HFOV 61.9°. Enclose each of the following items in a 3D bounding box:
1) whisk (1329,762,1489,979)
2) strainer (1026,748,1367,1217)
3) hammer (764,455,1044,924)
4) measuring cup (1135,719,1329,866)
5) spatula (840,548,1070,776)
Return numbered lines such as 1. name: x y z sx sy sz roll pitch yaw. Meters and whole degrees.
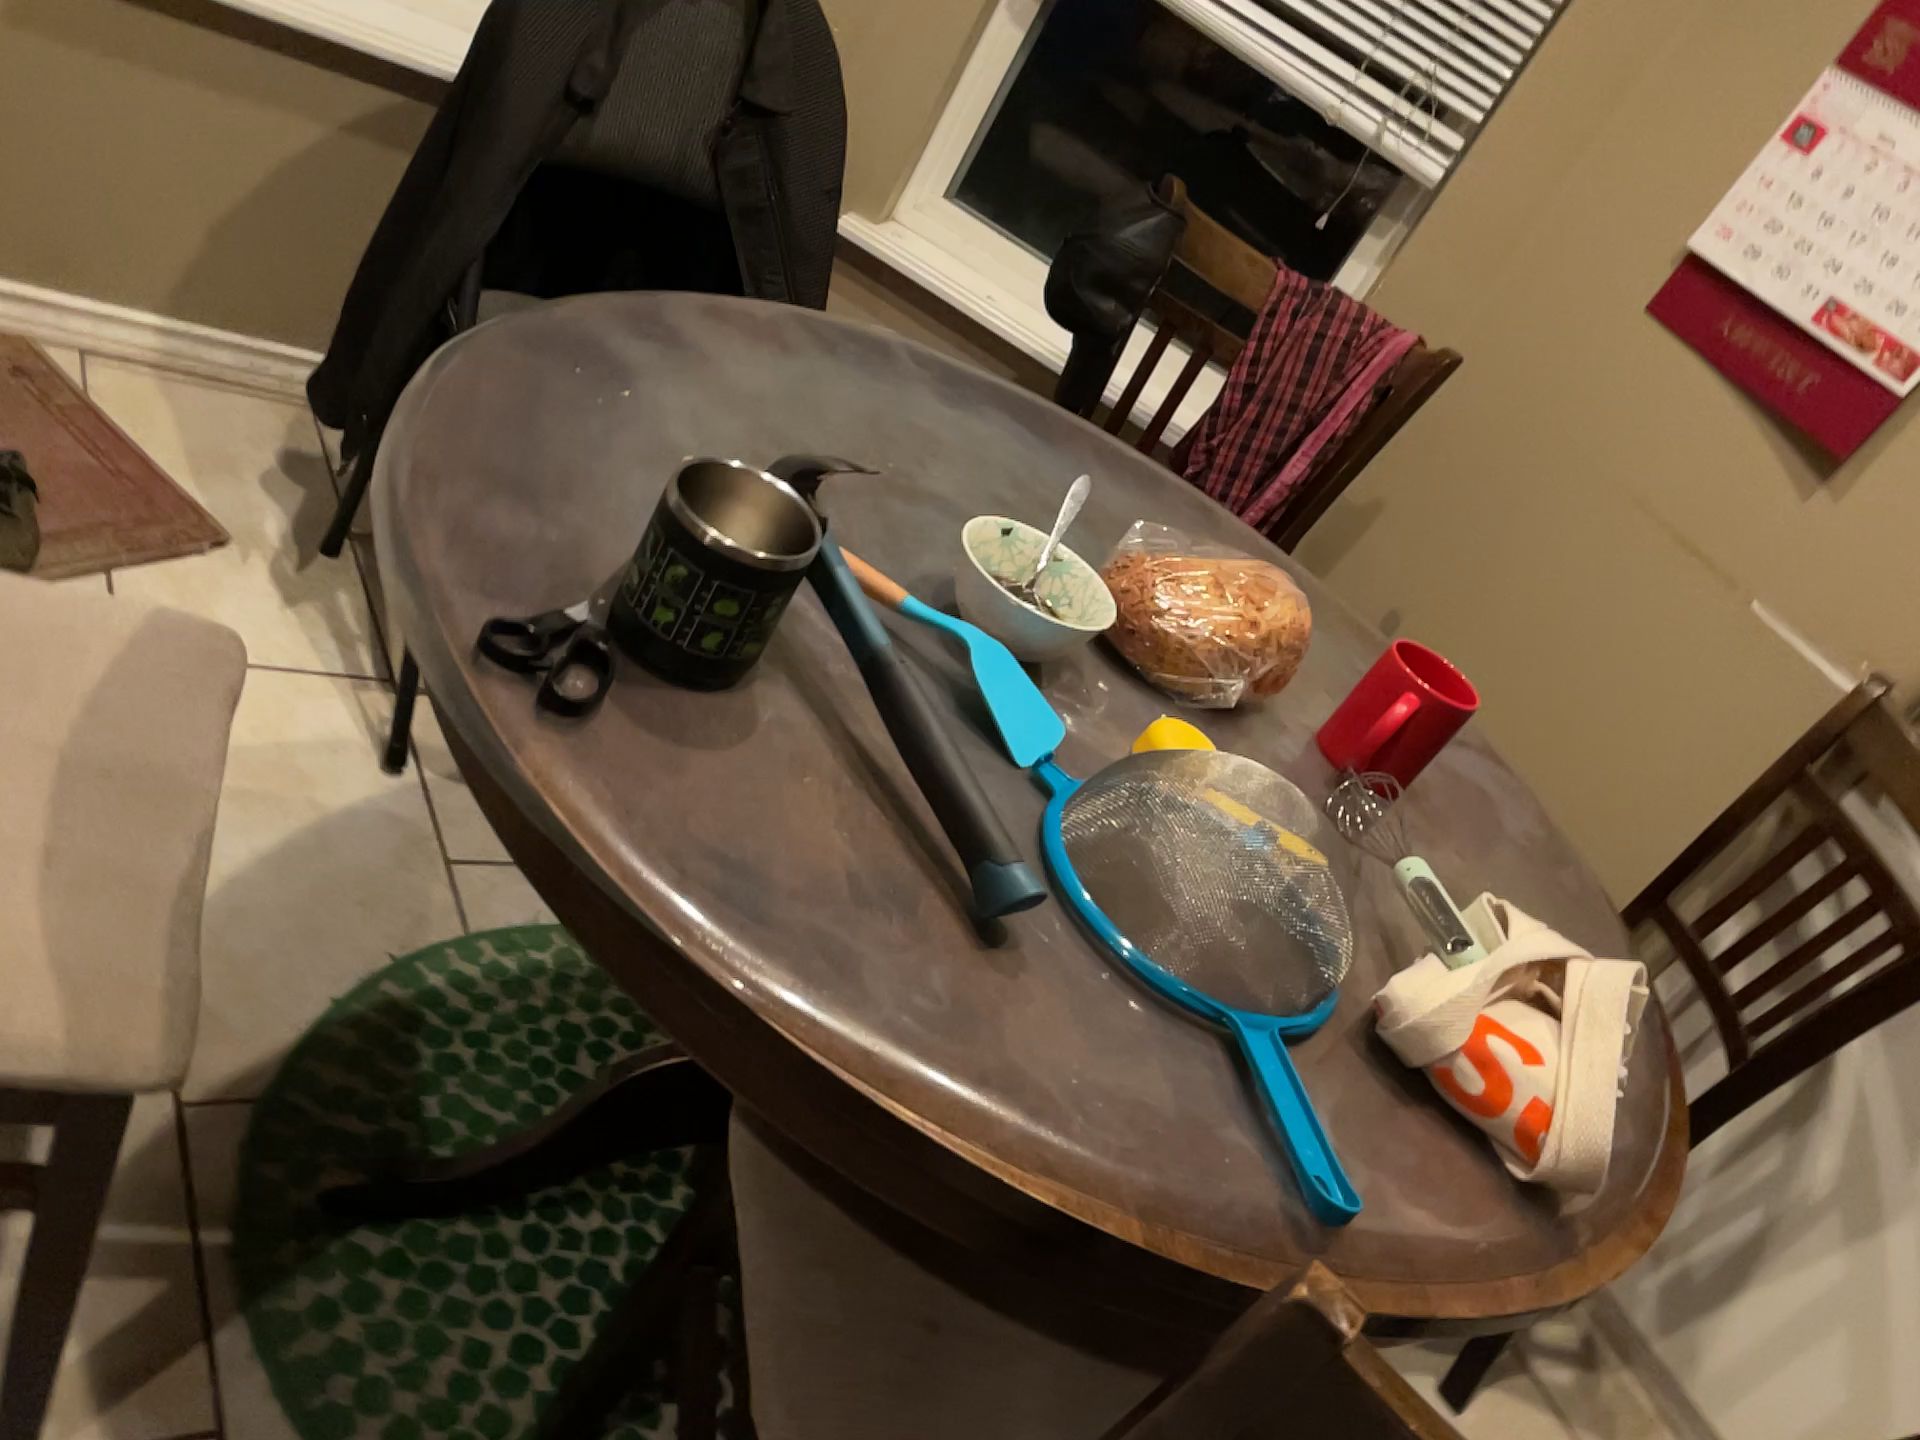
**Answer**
1. whisk: 0.304 0.099 1.089 0.059 0.058 0.246 54 11 -25
2. strainer: 0.173 0.119 0.917 0.211 0.095 0.341 17 29 -24
3. hammer: -0.044 -0.022 0.930 0.033 0.128 0.331 -4 54 -43
4. measuring cup: 0.193 0.050 1.103 0.156 0.029 0.062 32 30 1
5. spatula: -0.060 -0.078 1.065 0.317 0.044 0.082 34 30 12
